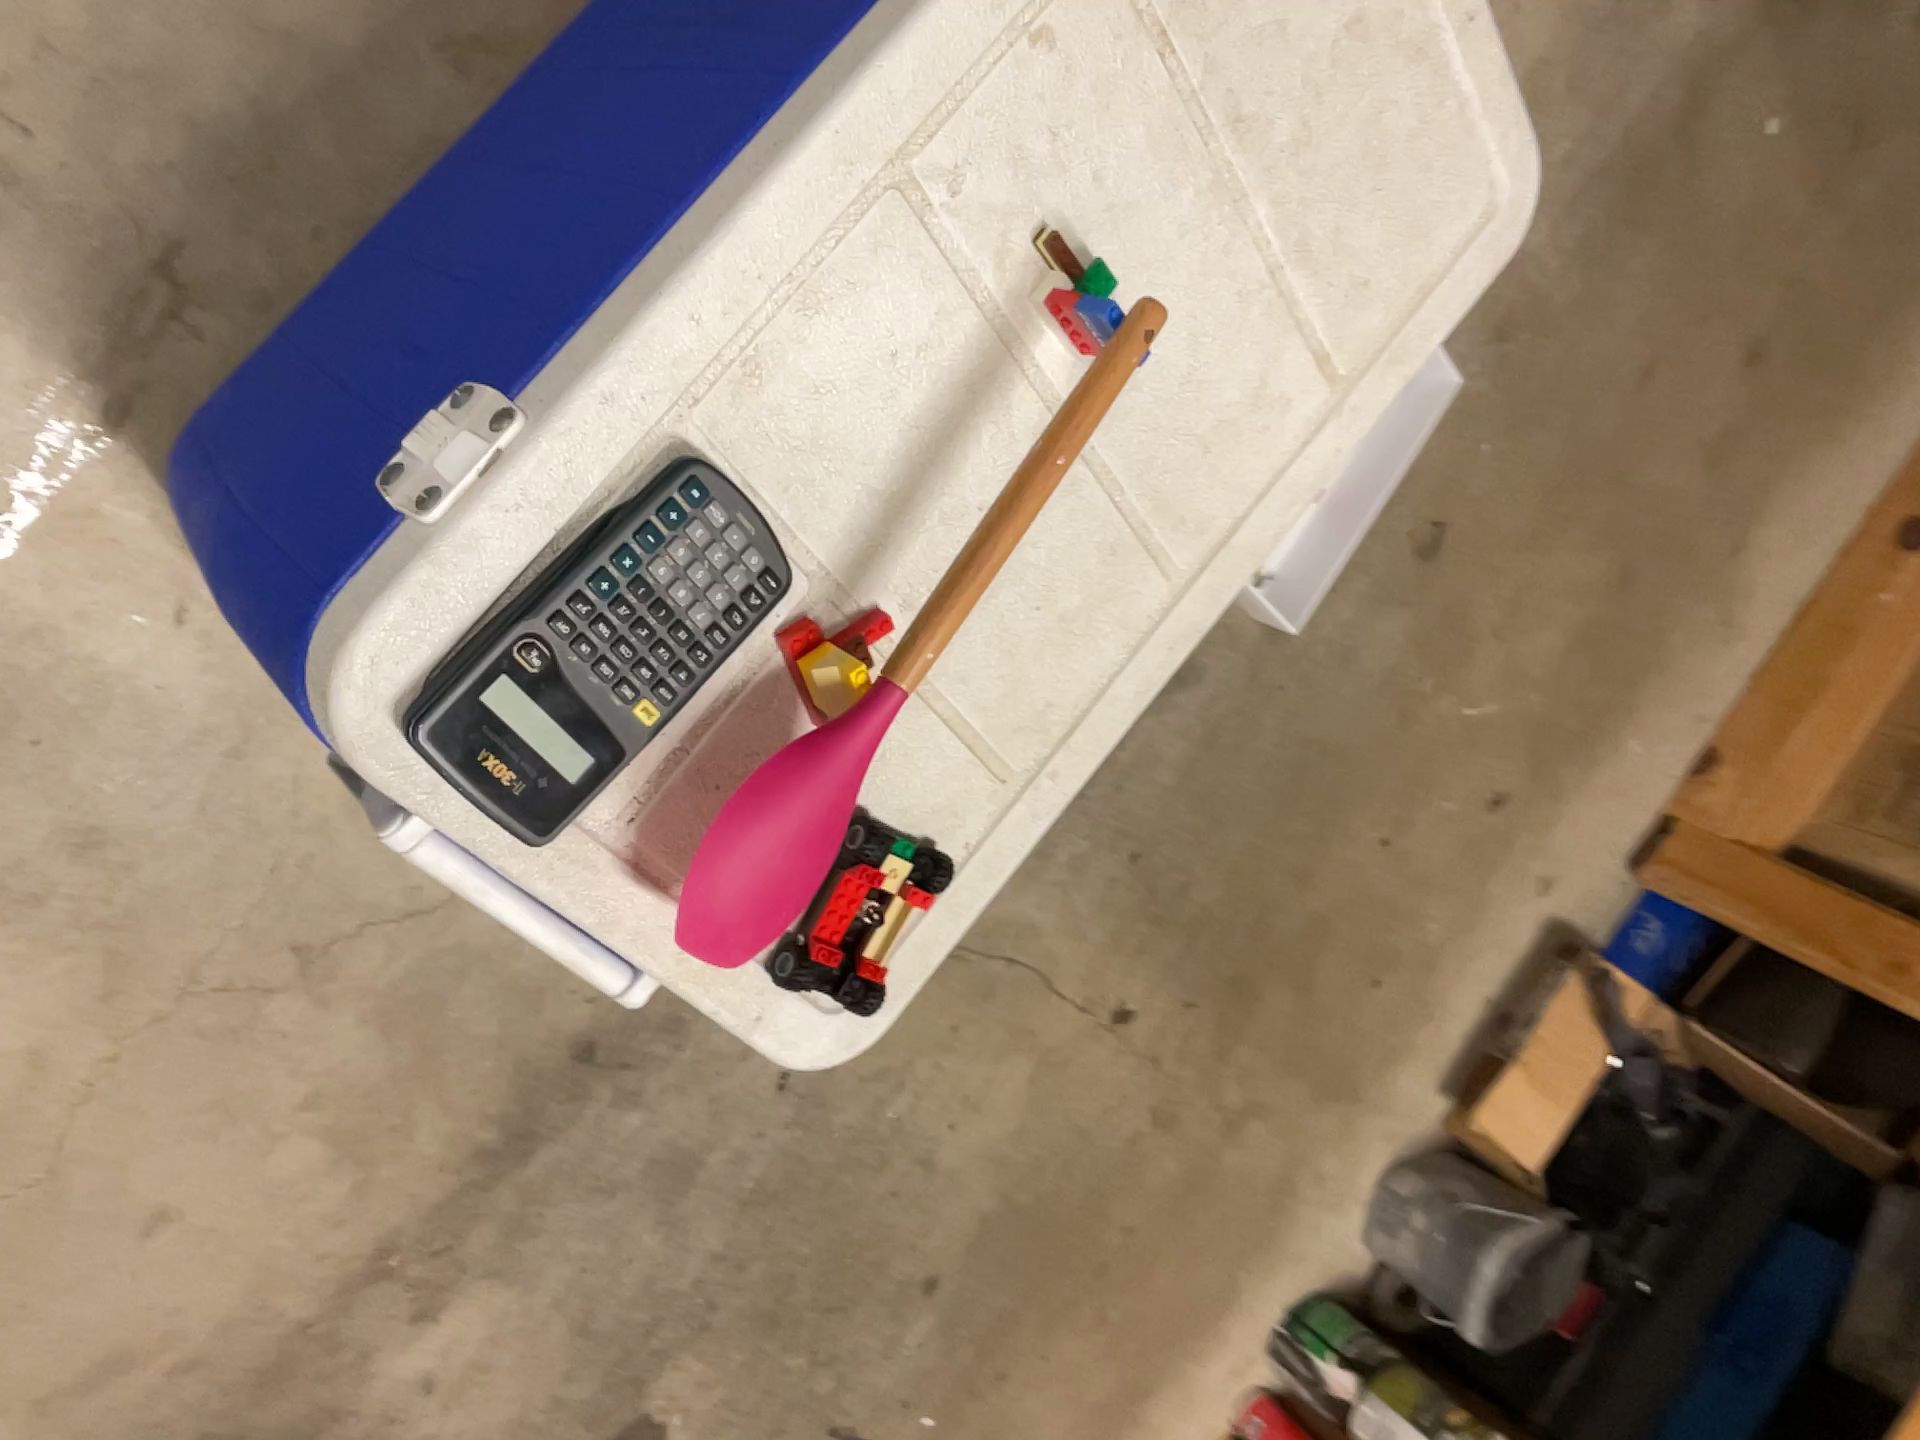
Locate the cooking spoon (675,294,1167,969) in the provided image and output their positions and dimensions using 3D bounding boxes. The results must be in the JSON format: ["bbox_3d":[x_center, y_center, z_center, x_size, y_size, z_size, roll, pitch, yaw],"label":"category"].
[{"bbox_3d":[-0.012,-0.036,0.636,0.319,0.017,0.068,-56,137,-2],"label":"cooking spoon"}]
